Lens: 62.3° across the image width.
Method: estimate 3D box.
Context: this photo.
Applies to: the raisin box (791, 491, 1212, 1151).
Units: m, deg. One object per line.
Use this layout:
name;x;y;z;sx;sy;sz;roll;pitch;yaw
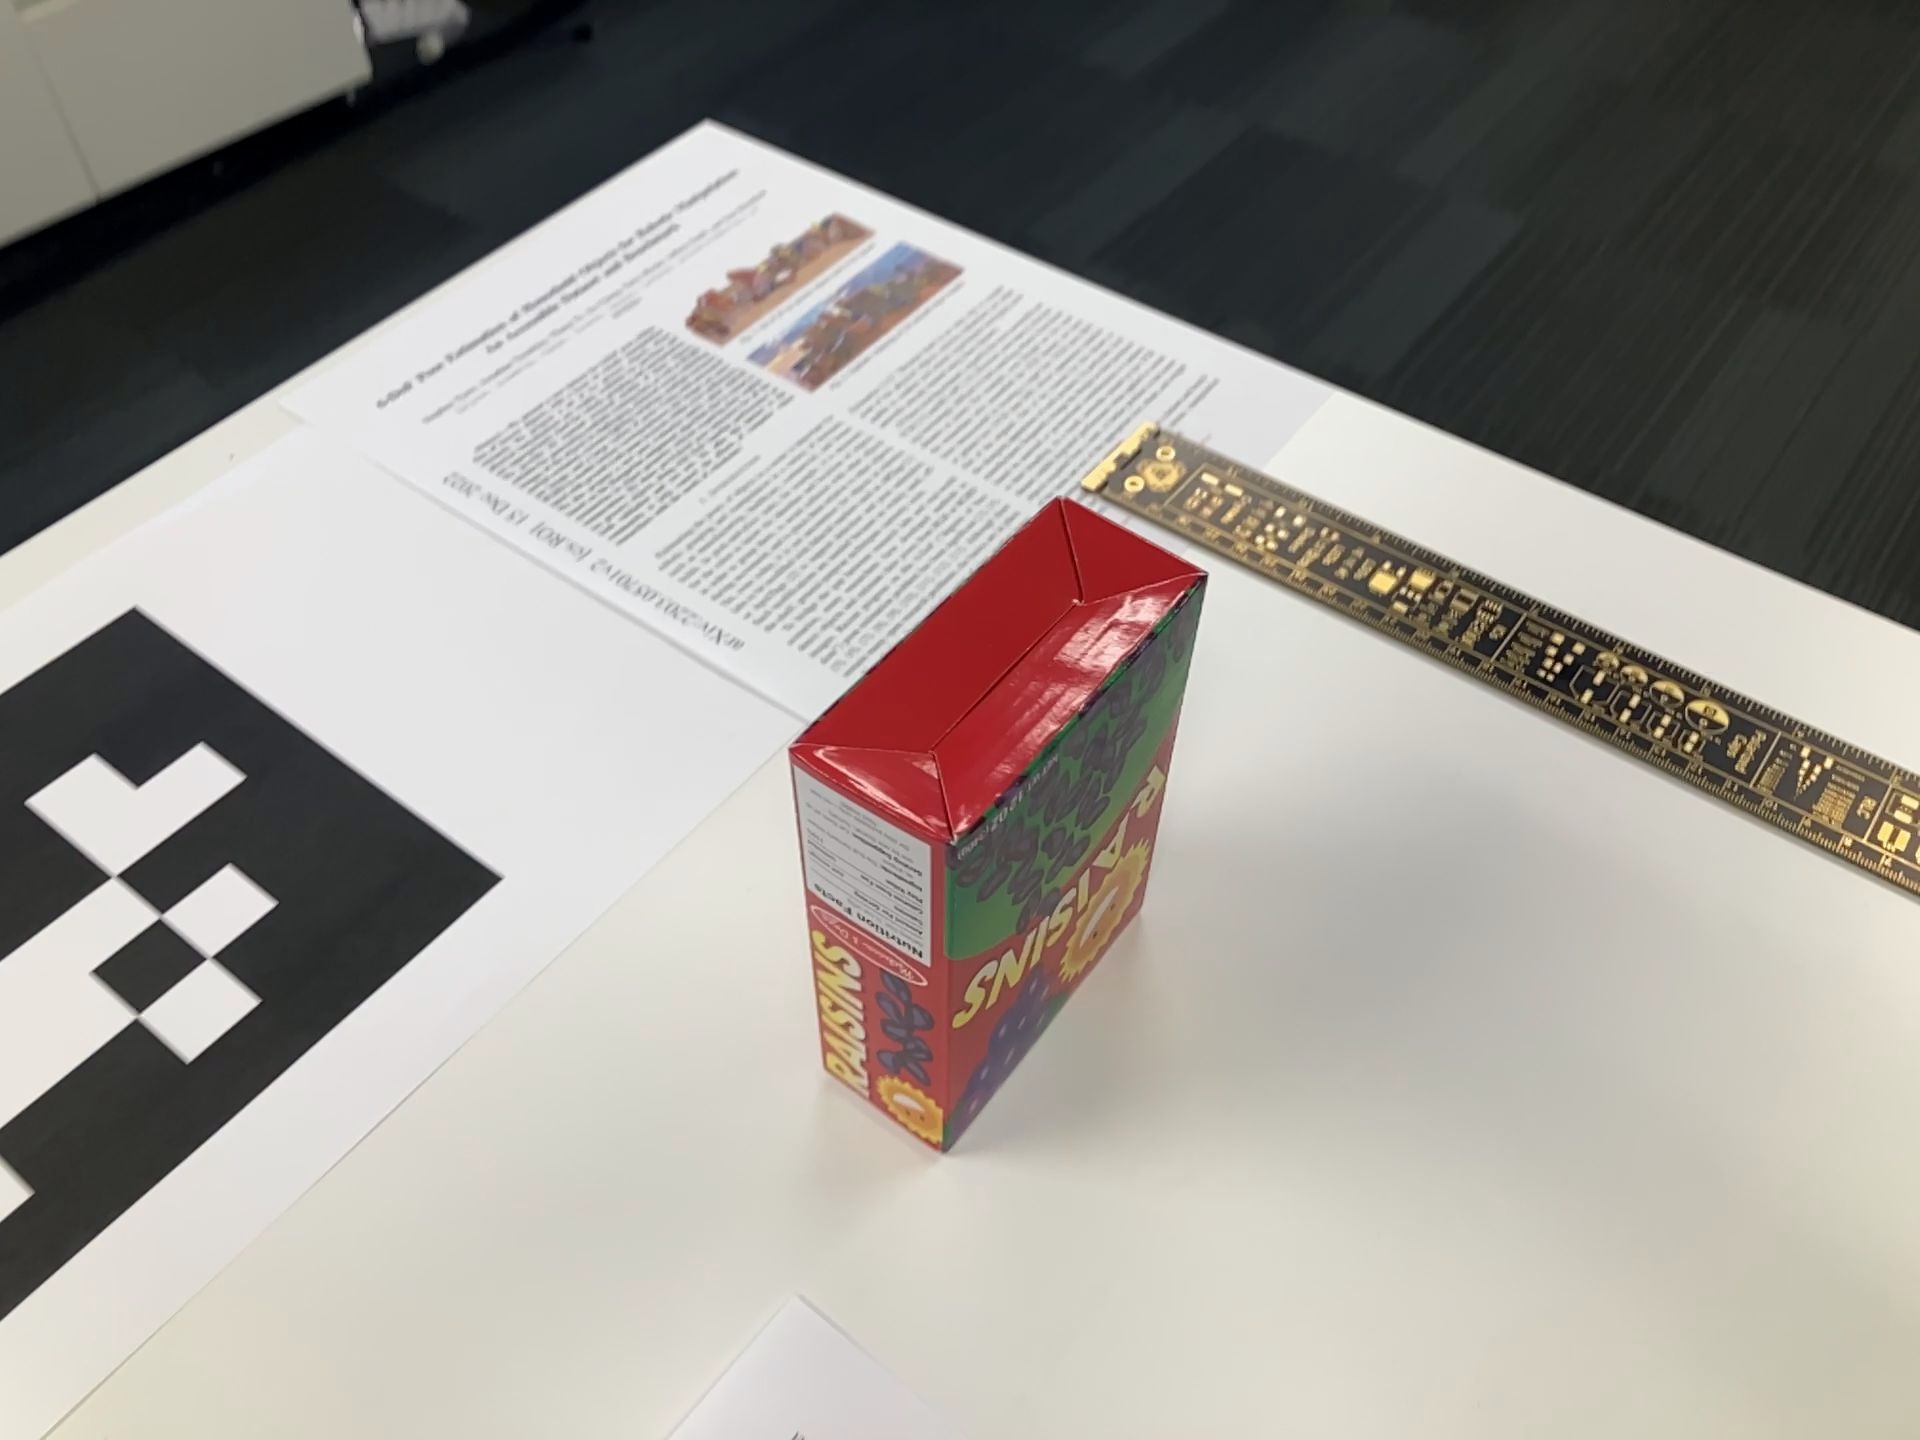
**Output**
raisin box;0.007;0.026;0.339;0.040;0.123;0.086;30;56;21
